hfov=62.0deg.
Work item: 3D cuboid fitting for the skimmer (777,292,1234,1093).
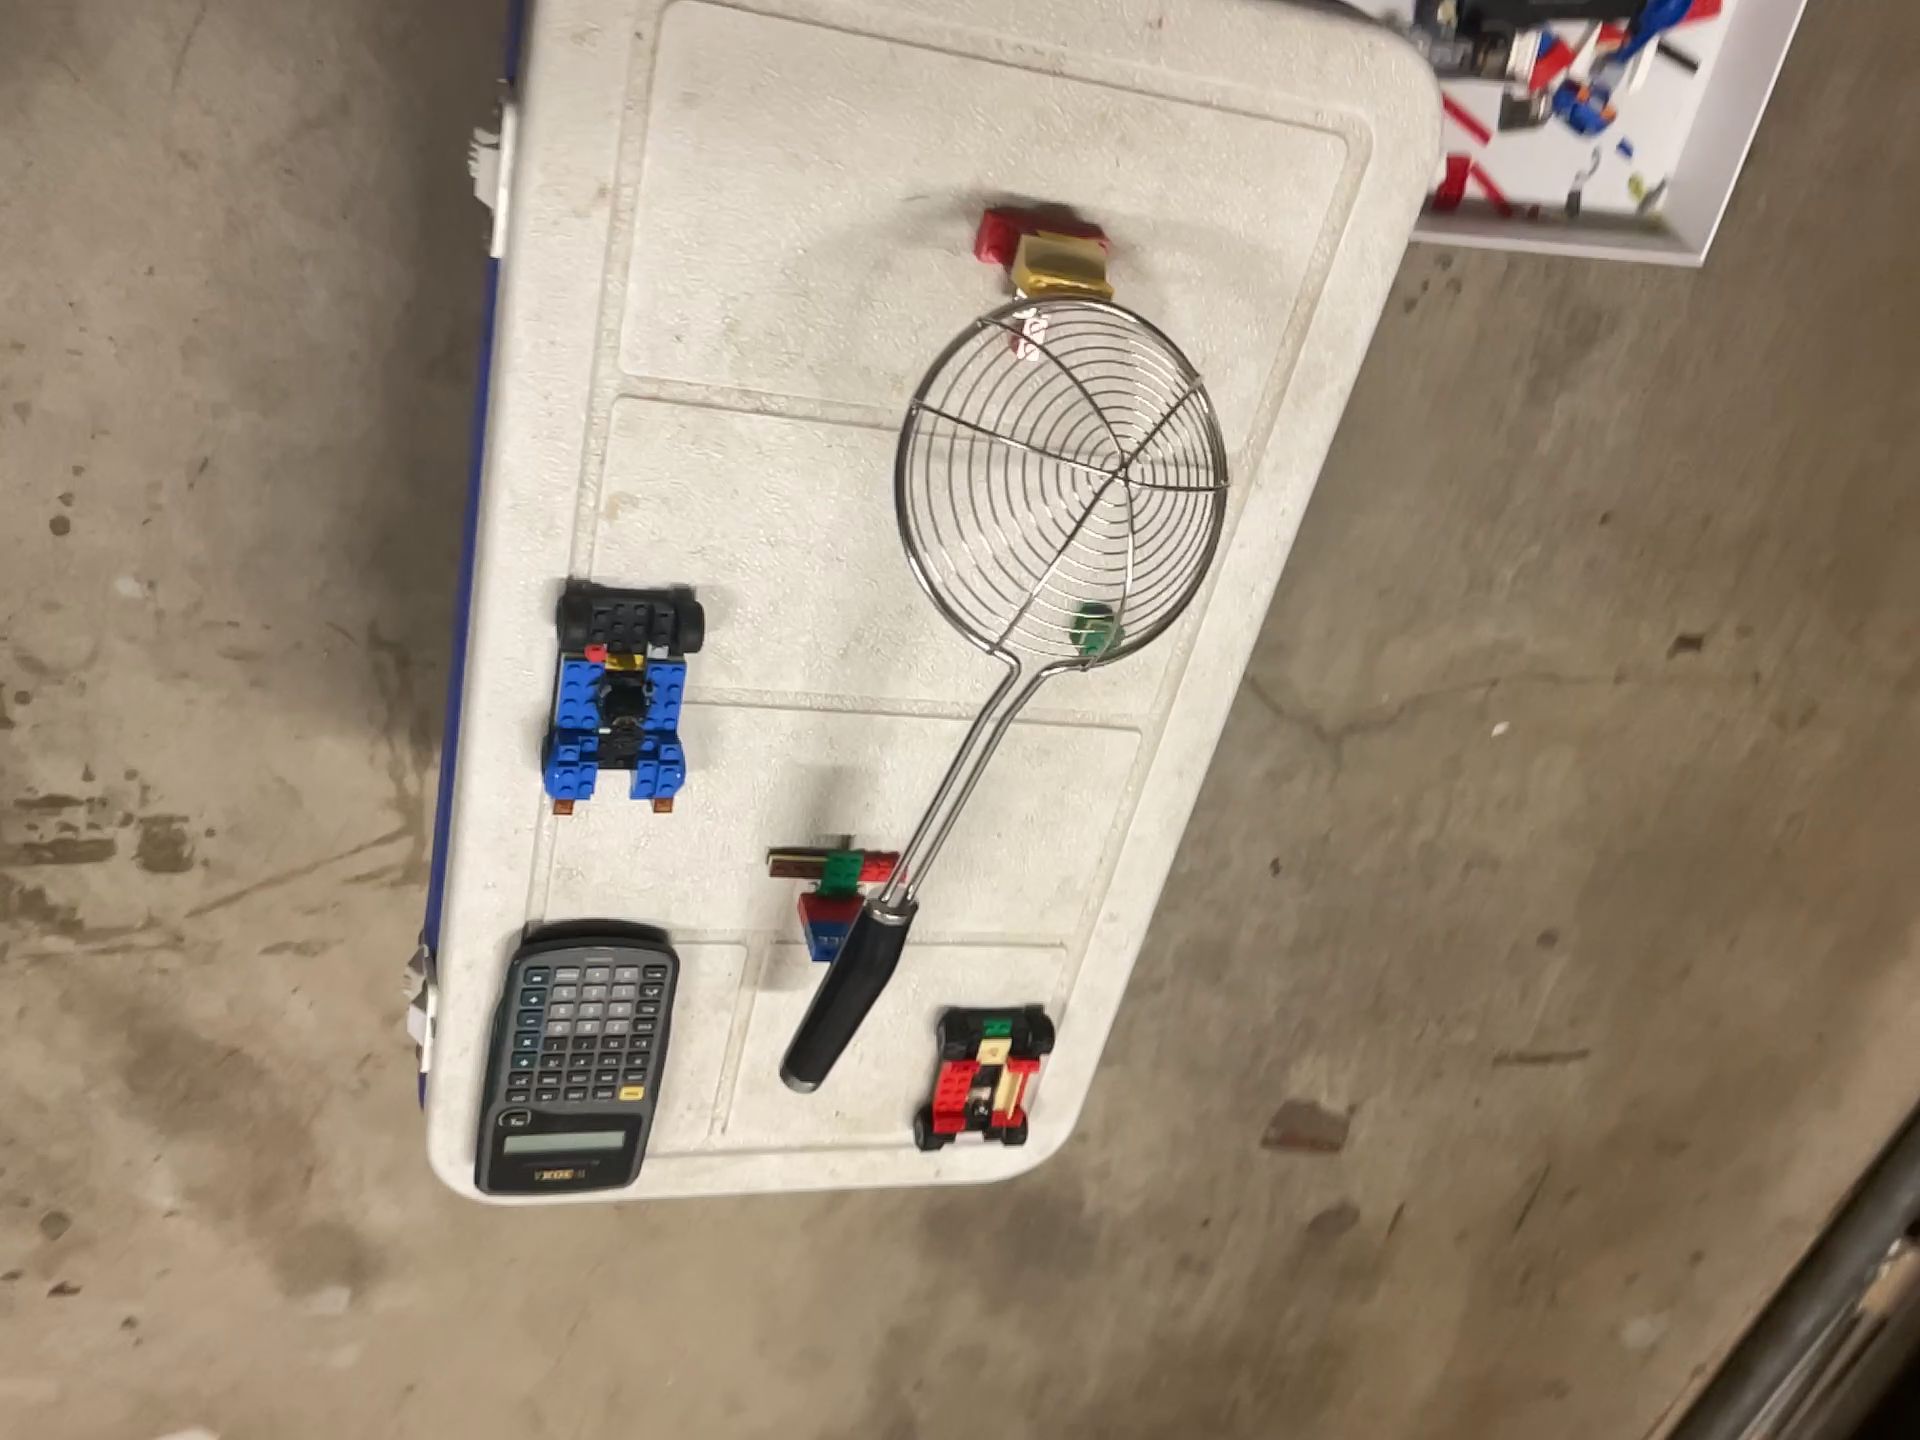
[{"bbox_3d":[-0.010,0.011,0.628,0.127,0.090,0.362,8,132,-23],"label":"skimmer"}]
